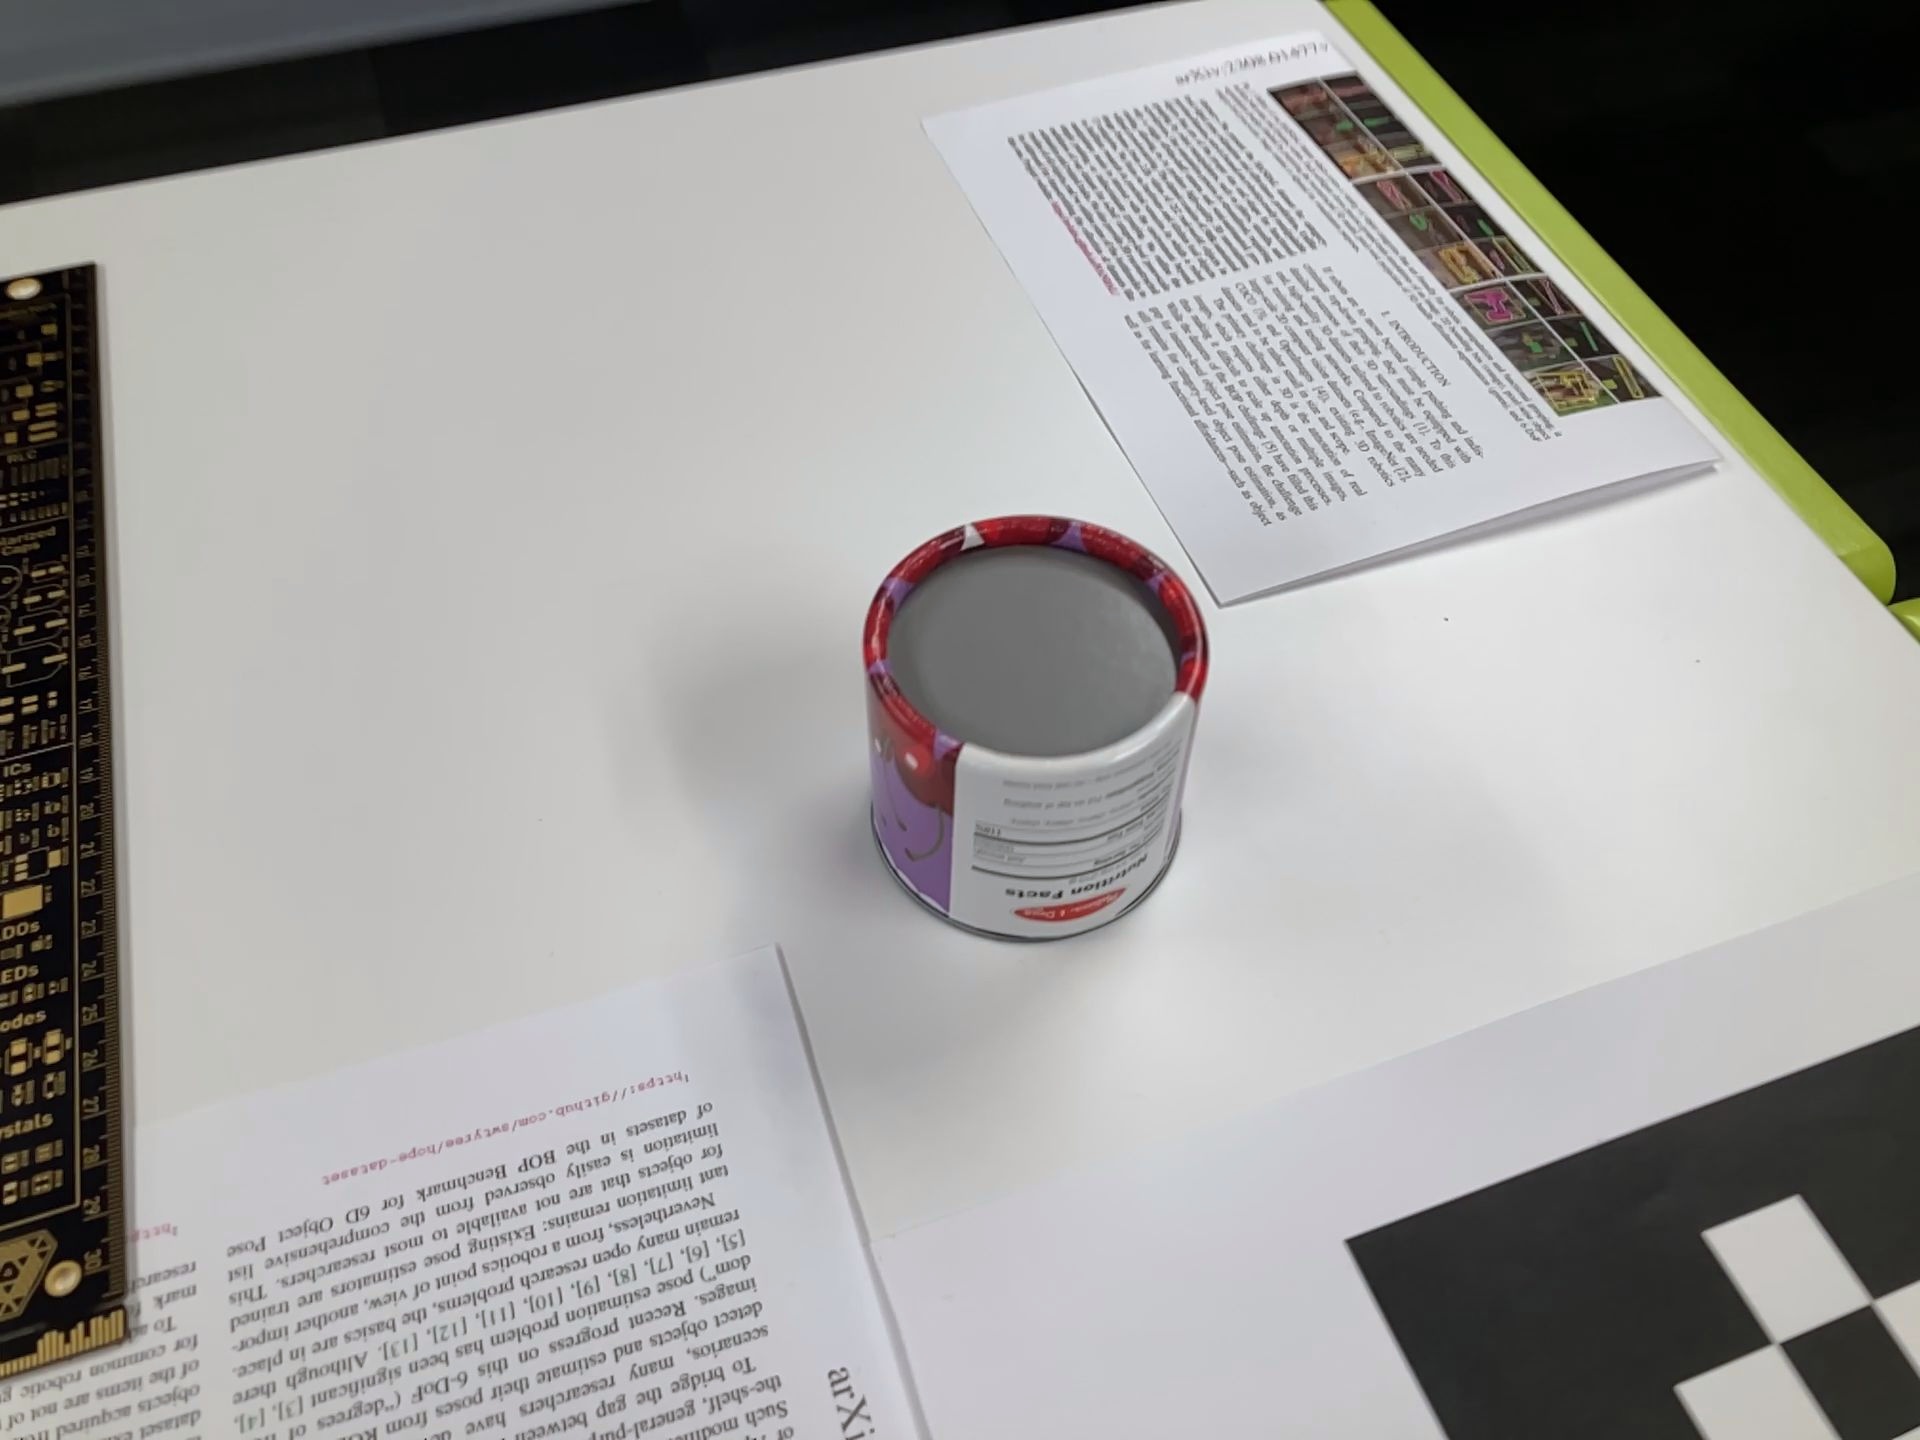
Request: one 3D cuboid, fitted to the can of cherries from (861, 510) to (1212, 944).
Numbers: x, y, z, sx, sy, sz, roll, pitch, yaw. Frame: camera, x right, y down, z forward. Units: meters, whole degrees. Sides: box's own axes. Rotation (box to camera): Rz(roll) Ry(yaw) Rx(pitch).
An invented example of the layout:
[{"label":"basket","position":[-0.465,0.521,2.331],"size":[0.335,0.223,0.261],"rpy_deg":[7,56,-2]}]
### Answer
[{"label":"can of cherries","position":[0.013,-0.001,0.315],"size":[0.071,0.058,0.071],"rpy_deg":[0,52,0]}]
